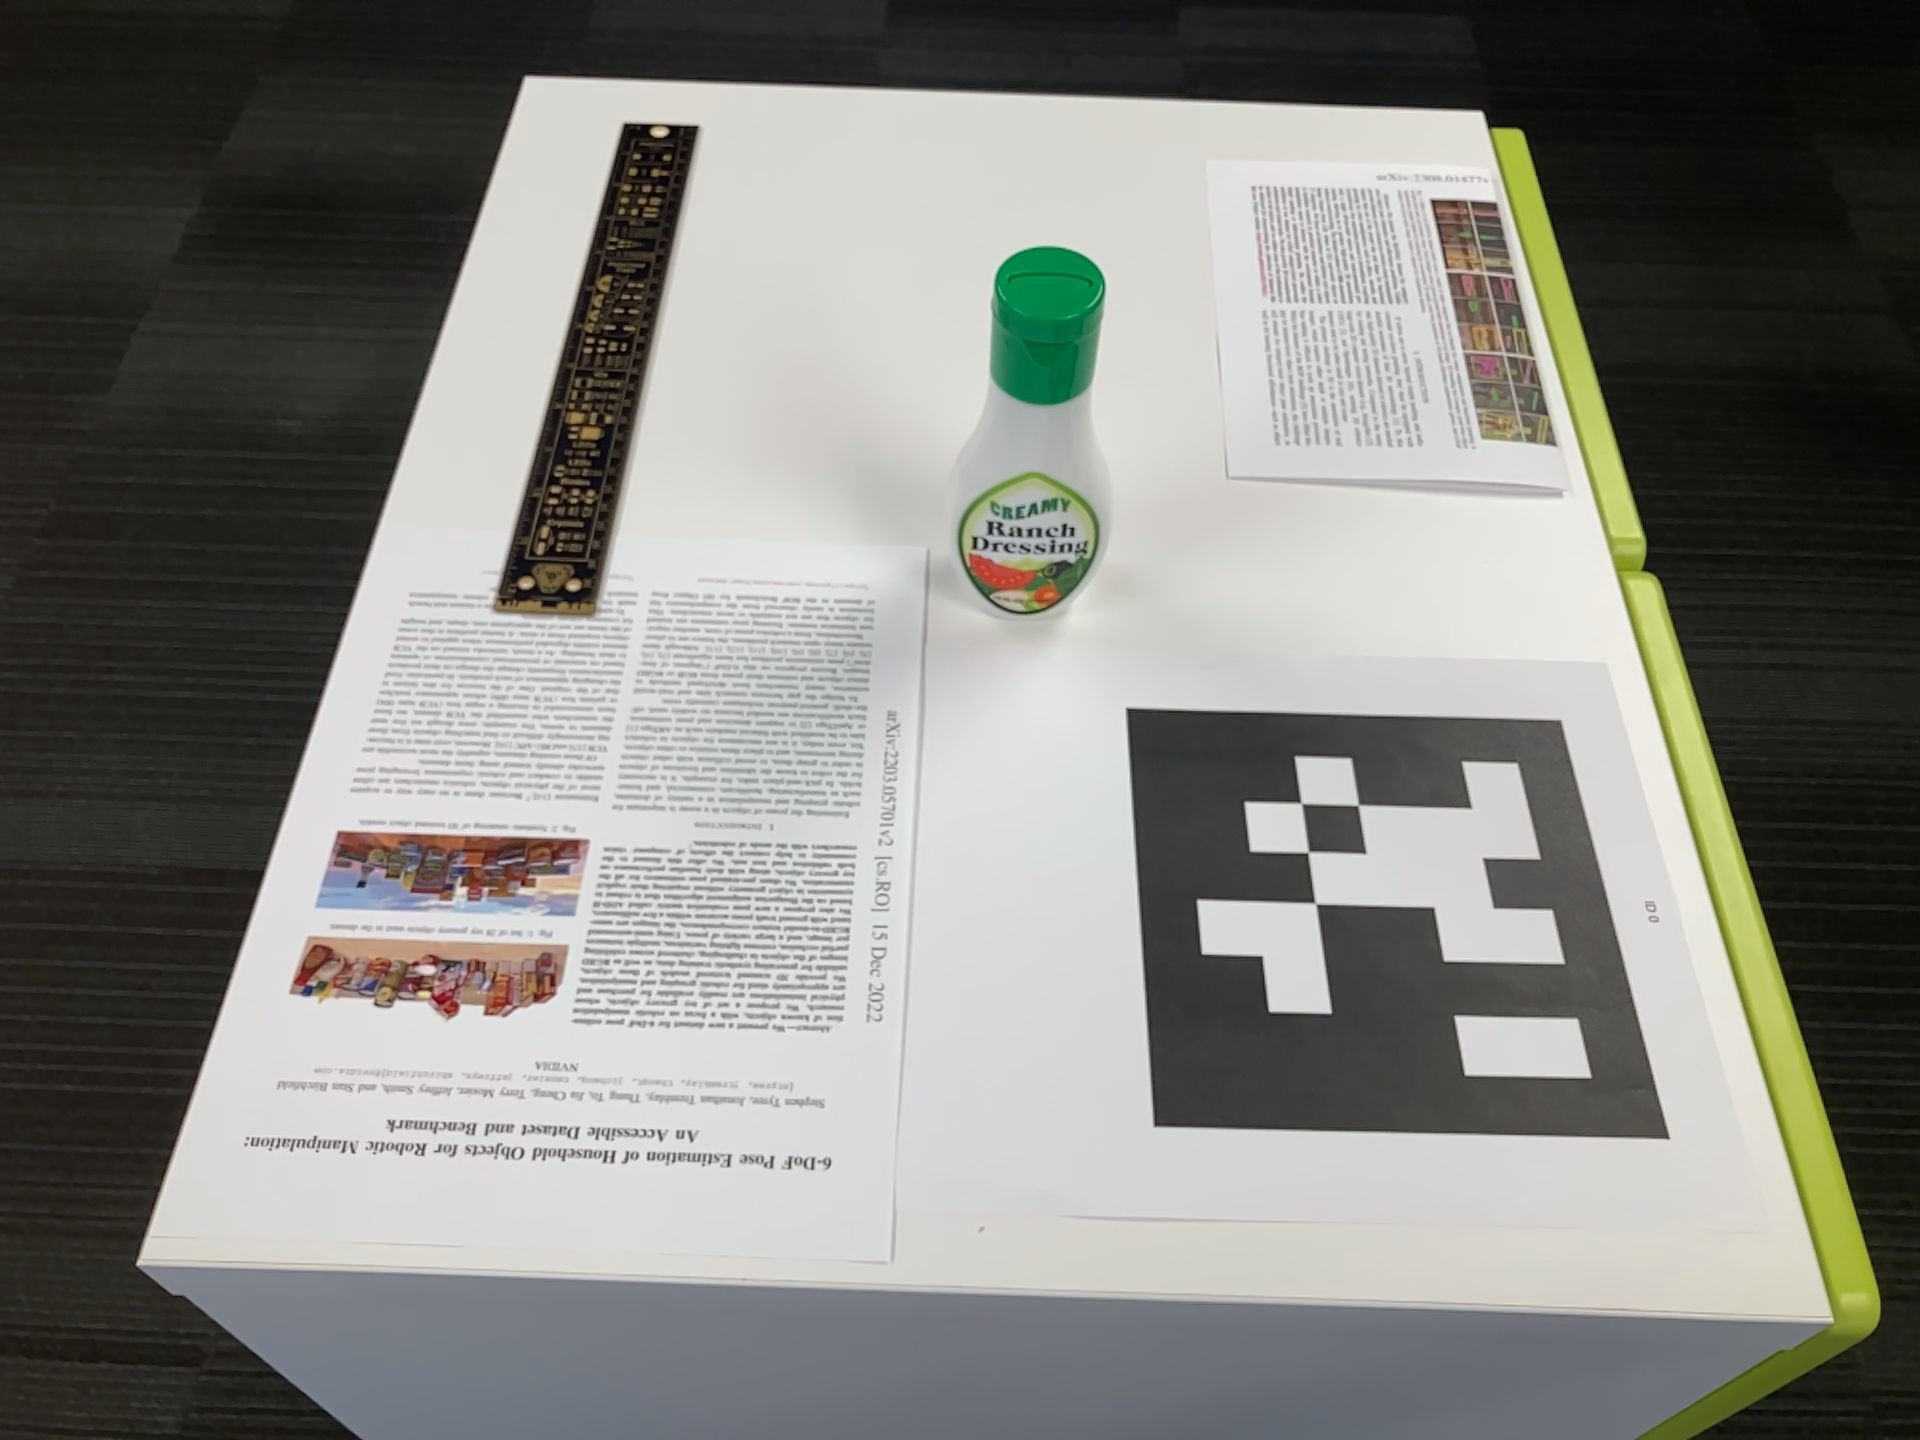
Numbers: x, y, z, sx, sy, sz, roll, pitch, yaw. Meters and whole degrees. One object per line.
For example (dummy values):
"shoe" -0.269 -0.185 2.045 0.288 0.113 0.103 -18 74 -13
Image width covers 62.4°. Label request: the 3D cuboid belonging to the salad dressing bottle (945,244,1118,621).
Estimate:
"salad dressing bottle" 0.027 -0.098 0.567 0.064 0.147 0.044 2 54 0
